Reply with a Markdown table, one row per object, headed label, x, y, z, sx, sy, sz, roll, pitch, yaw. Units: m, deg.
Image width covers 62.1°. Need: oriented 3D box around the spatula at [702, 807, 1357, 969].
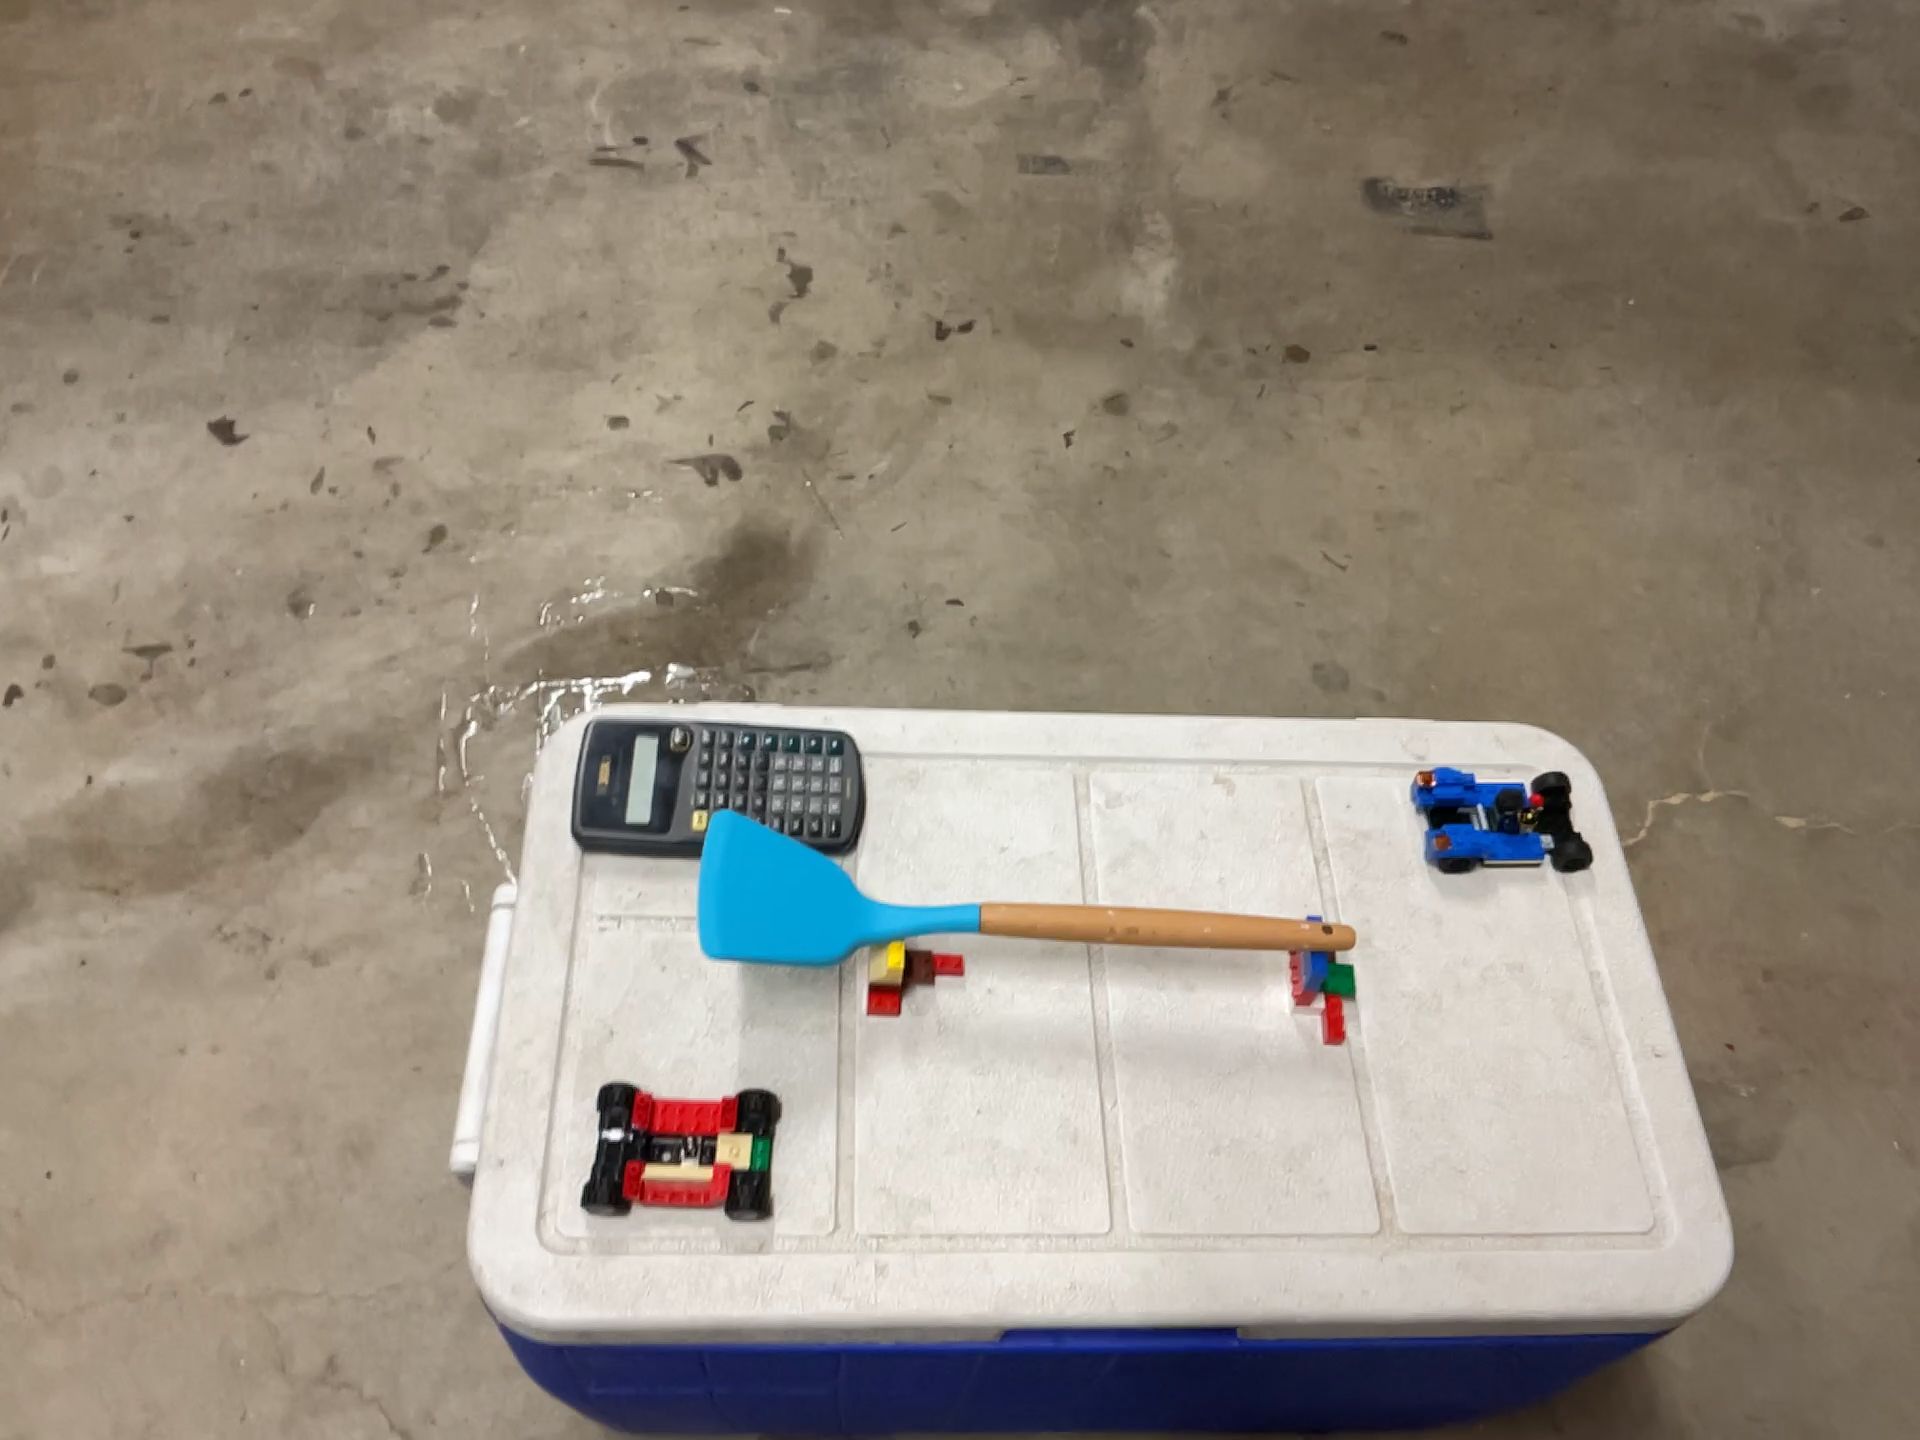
| label | x | y | z | sx | sy | sz | roll | pitch | yaw |
| --- | --- | --- | --- | --- | --- | --- | --- | --- | --- |
| spatula | 0.037 | 0.094 | 0.769 | 0.317 | 0.044 | 0.083 | 3 | 53 | -3 |
